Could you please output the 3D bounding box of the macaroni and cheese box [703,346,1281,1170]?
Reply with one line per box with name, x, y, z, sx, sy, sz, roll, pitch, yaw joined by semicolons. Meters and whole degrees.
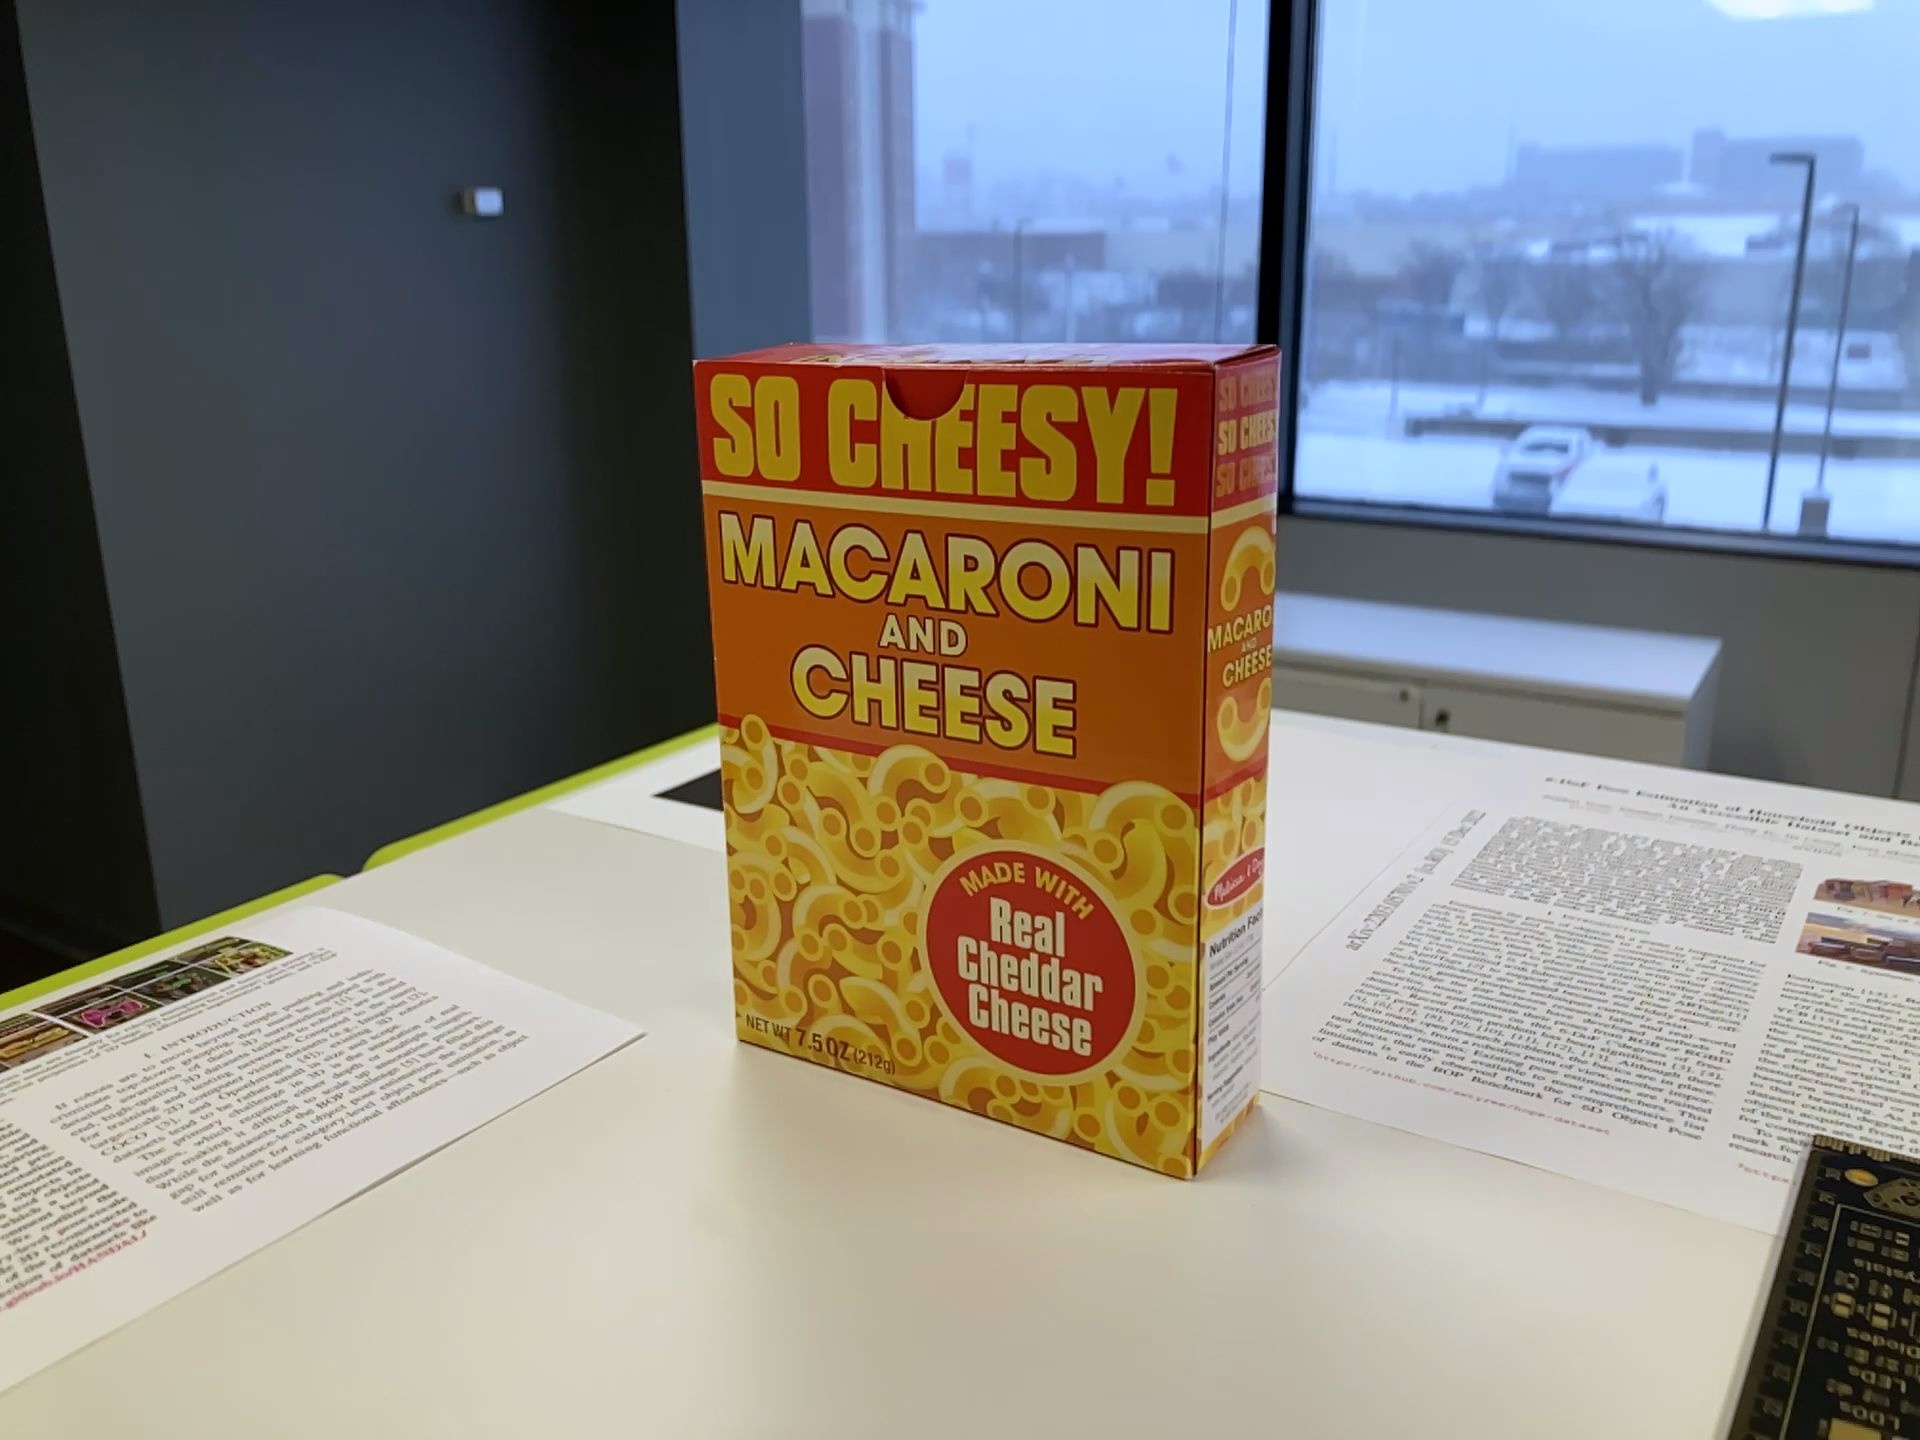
macaroni and cheese box;0.005;0.003;0.354;0.124;0.166;0.040;8;18;30
